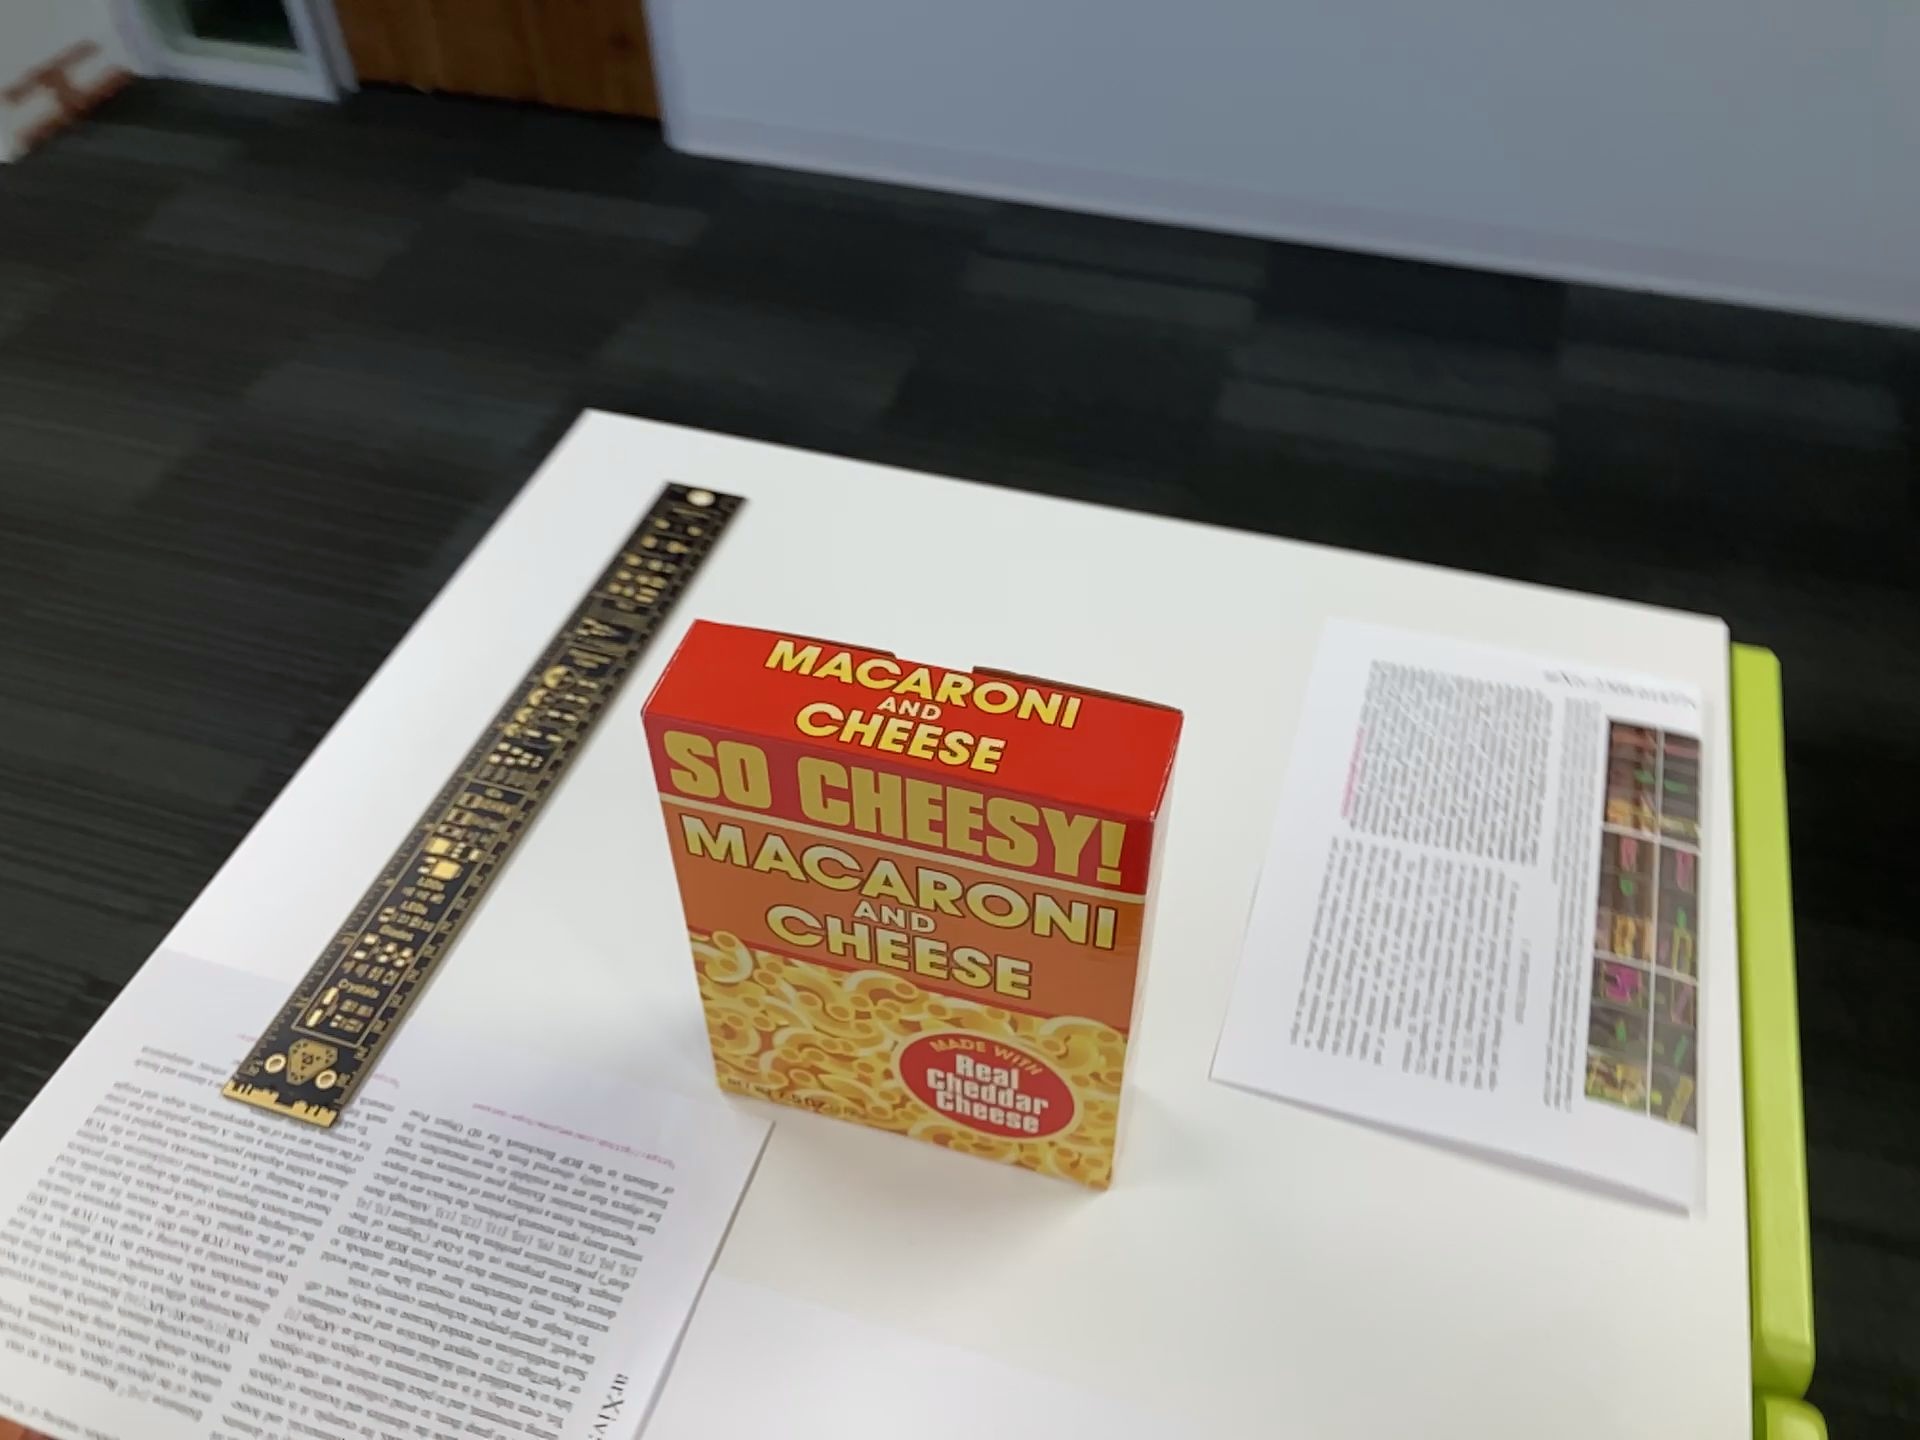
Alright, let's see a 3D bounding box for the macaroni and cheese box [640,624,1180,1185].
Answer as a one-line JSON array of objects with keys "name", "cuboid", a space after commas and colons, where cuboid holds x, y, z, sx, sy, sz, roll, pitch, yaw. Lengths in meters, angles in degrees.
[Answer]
[{"name": "macaroni and cheese box", "cuboid": [-0.011, 0.055, 0.429, 0.124, 0.166, 0.040, 10, 47, 10]}]
